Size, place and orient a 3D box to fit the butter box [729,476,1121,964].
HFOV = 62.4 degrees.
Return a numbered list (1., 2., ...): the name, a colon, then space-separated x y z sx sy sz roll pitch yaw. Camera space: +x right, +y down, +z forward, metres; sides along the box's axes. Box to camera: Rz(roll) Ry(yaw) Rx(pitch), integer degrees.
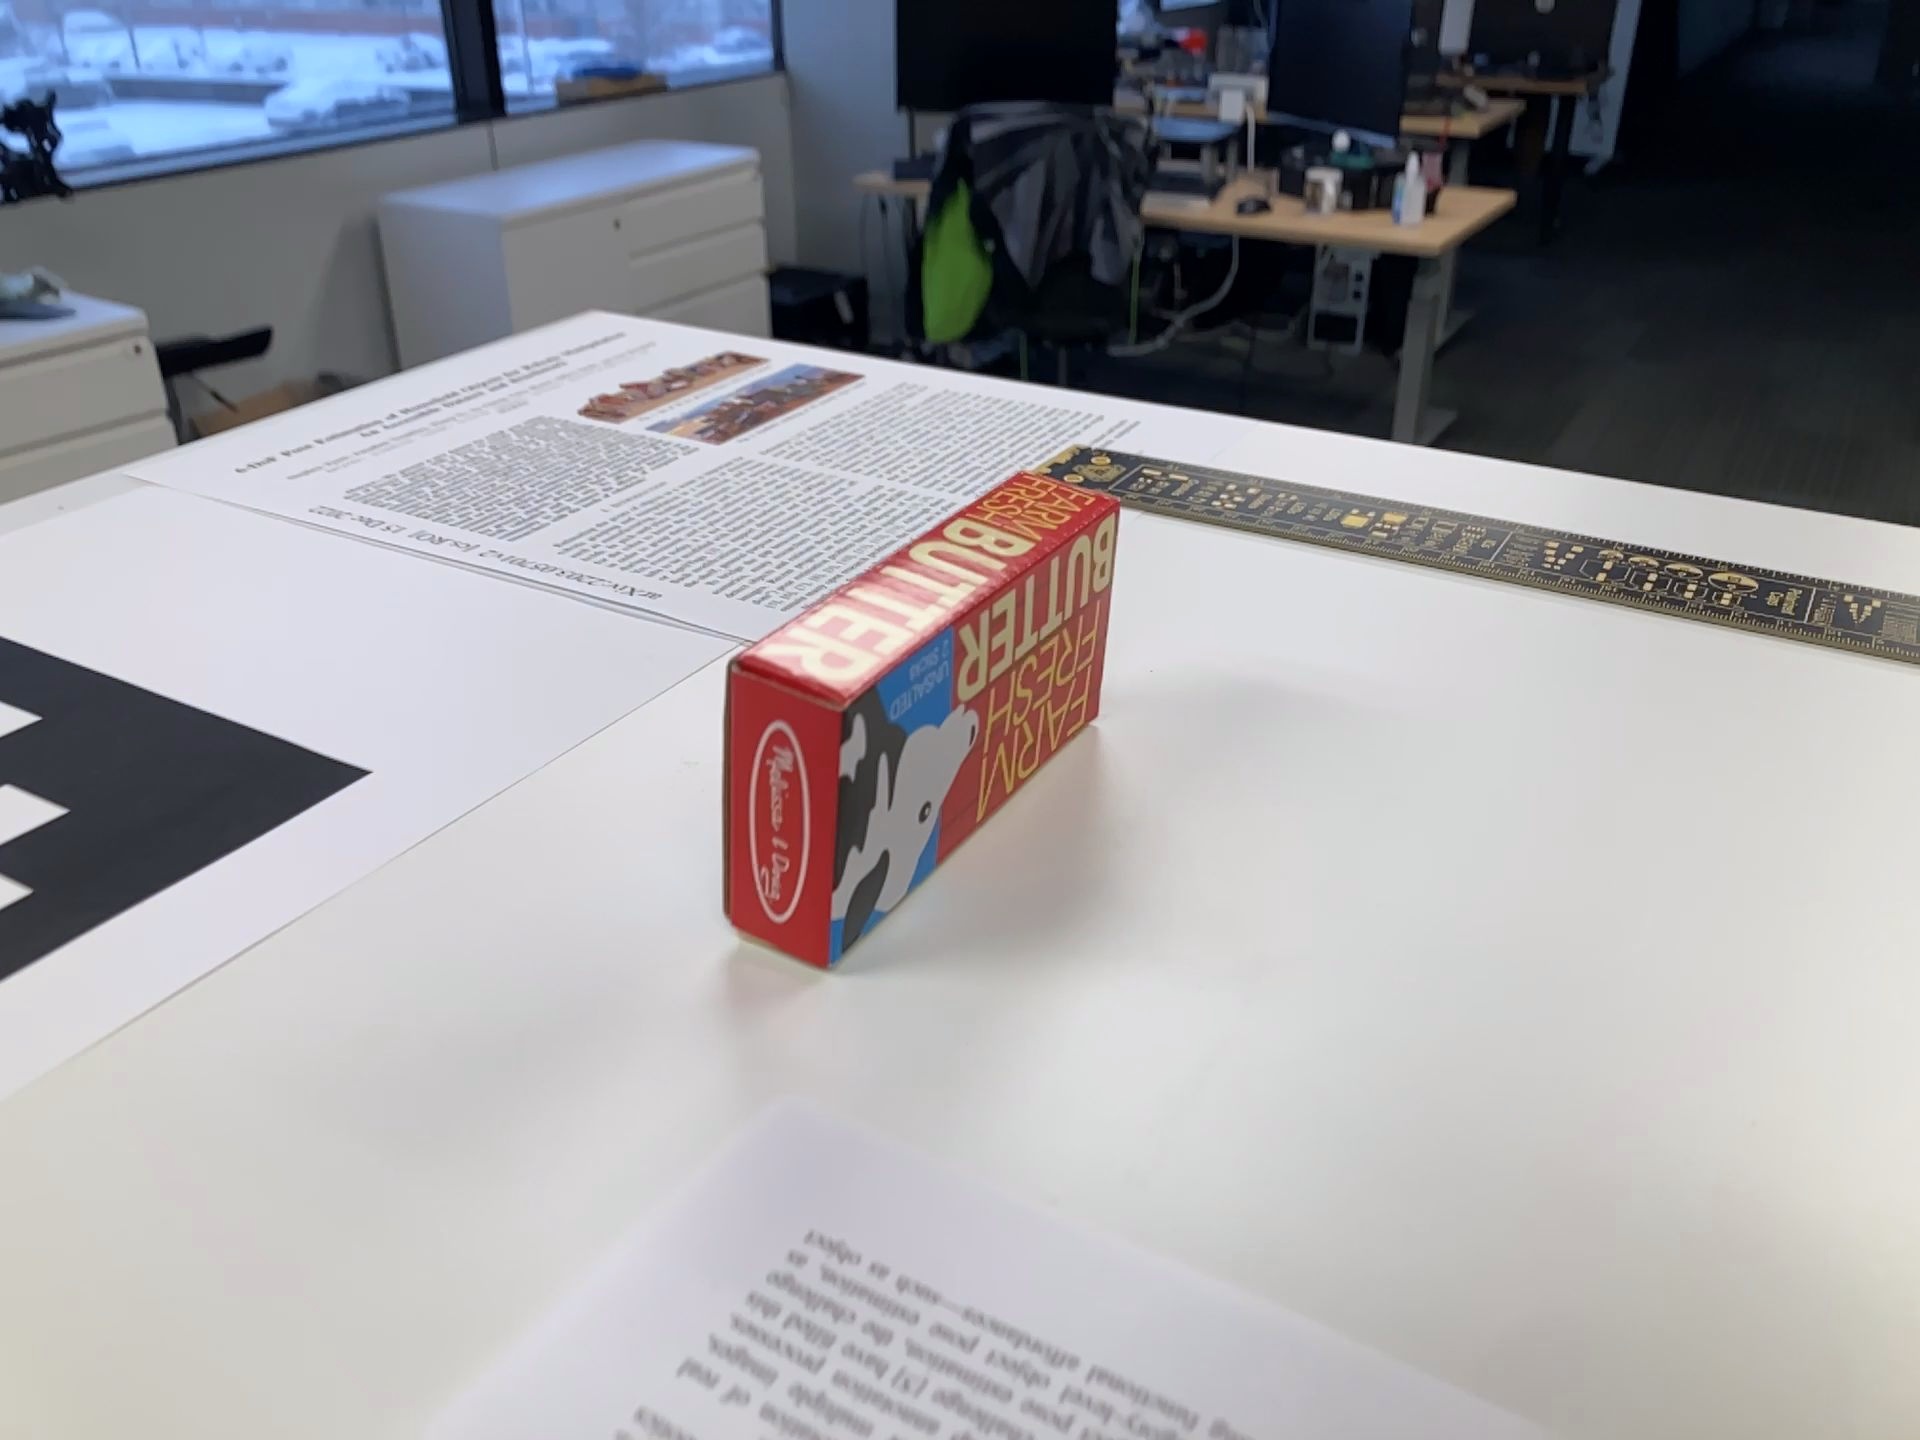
1. butter box: -0.004 -0.005 0.297 0.024 0.053 0.103 20 34 23
